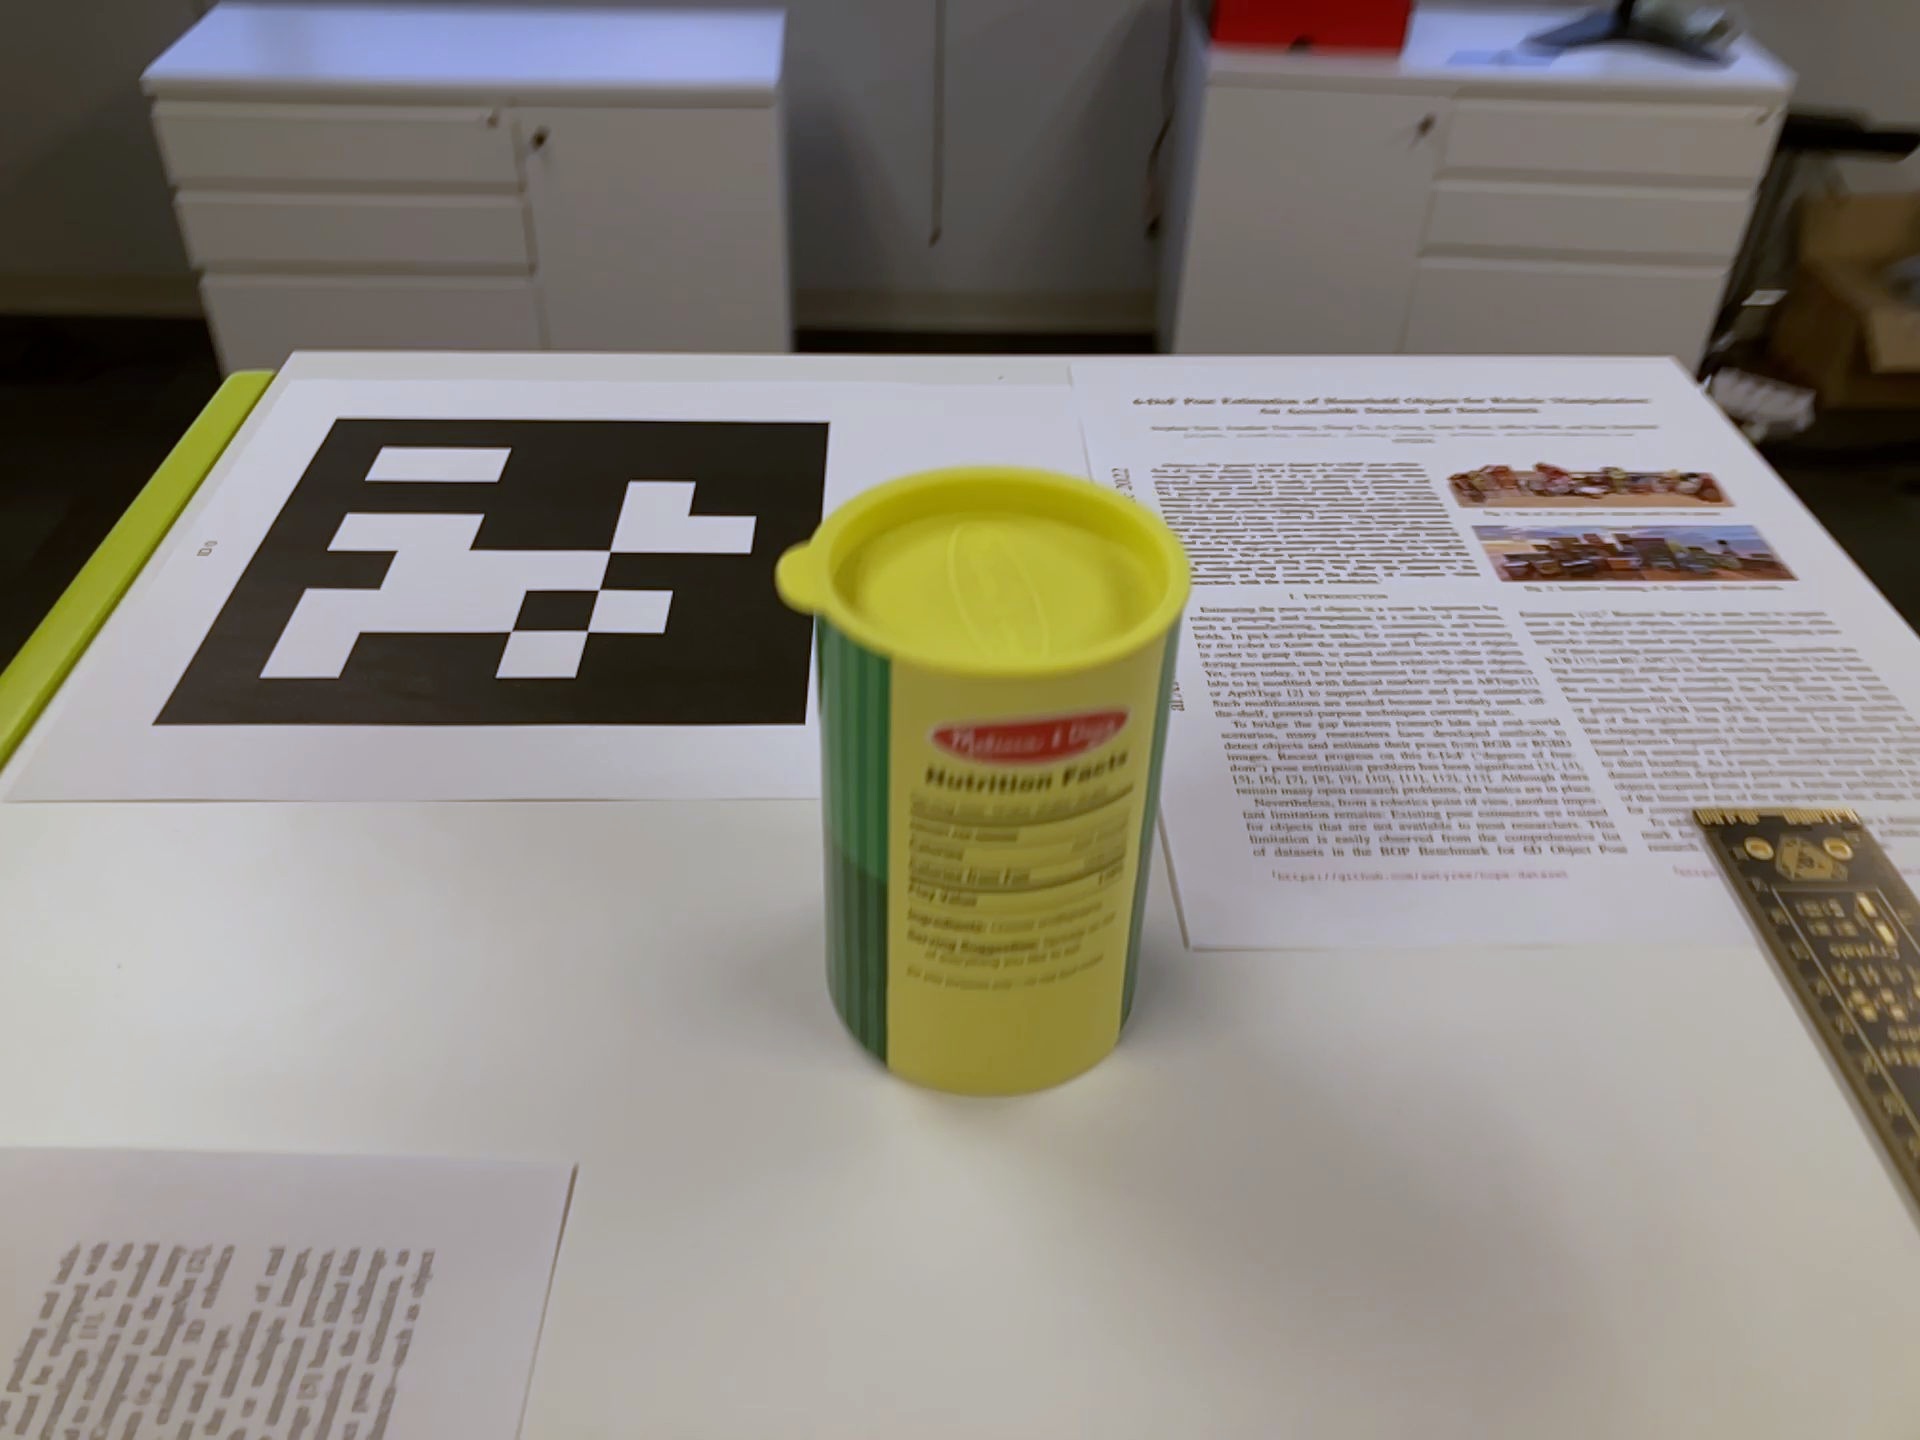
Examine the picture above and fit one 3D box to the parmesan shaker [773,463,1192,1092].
[{"bbox_3d":[0.002,0.012,0.302,0.071,0.103,0.071,1,38,-1],"label":"parmesan shaker"}]
